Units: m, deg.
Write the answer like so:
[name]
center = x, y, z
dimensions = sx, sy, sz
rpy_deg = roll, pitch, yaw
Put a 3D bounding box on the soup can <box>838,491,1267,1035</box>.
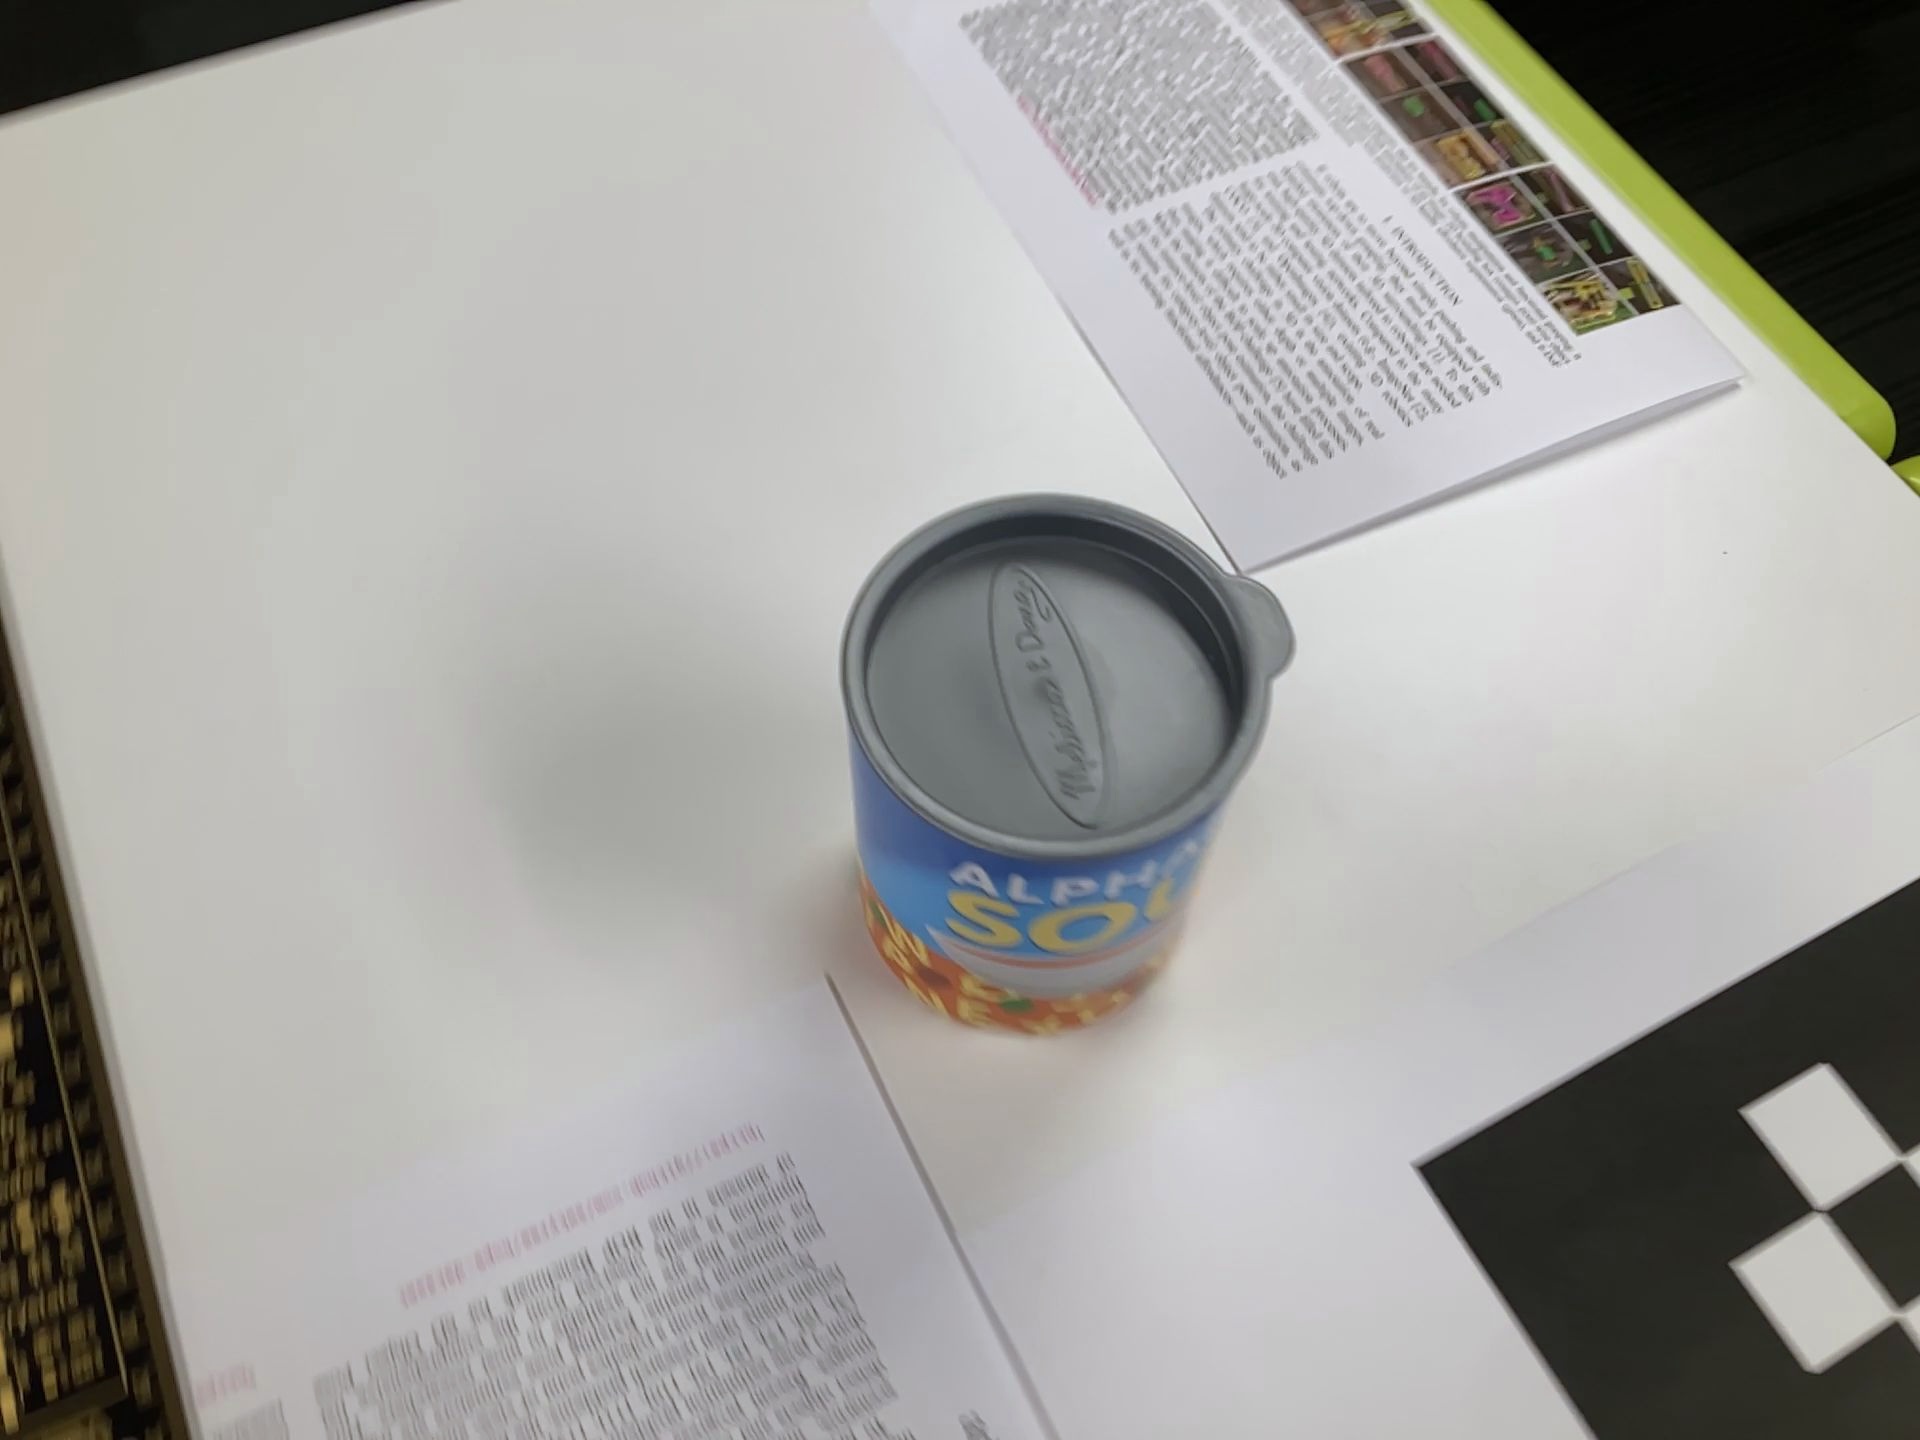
[soup can]
center = 0.015, 0.014, 0.280
dimensions = 0.071, 0.084, 0.071
rpy_deg = 0, 60, -1
